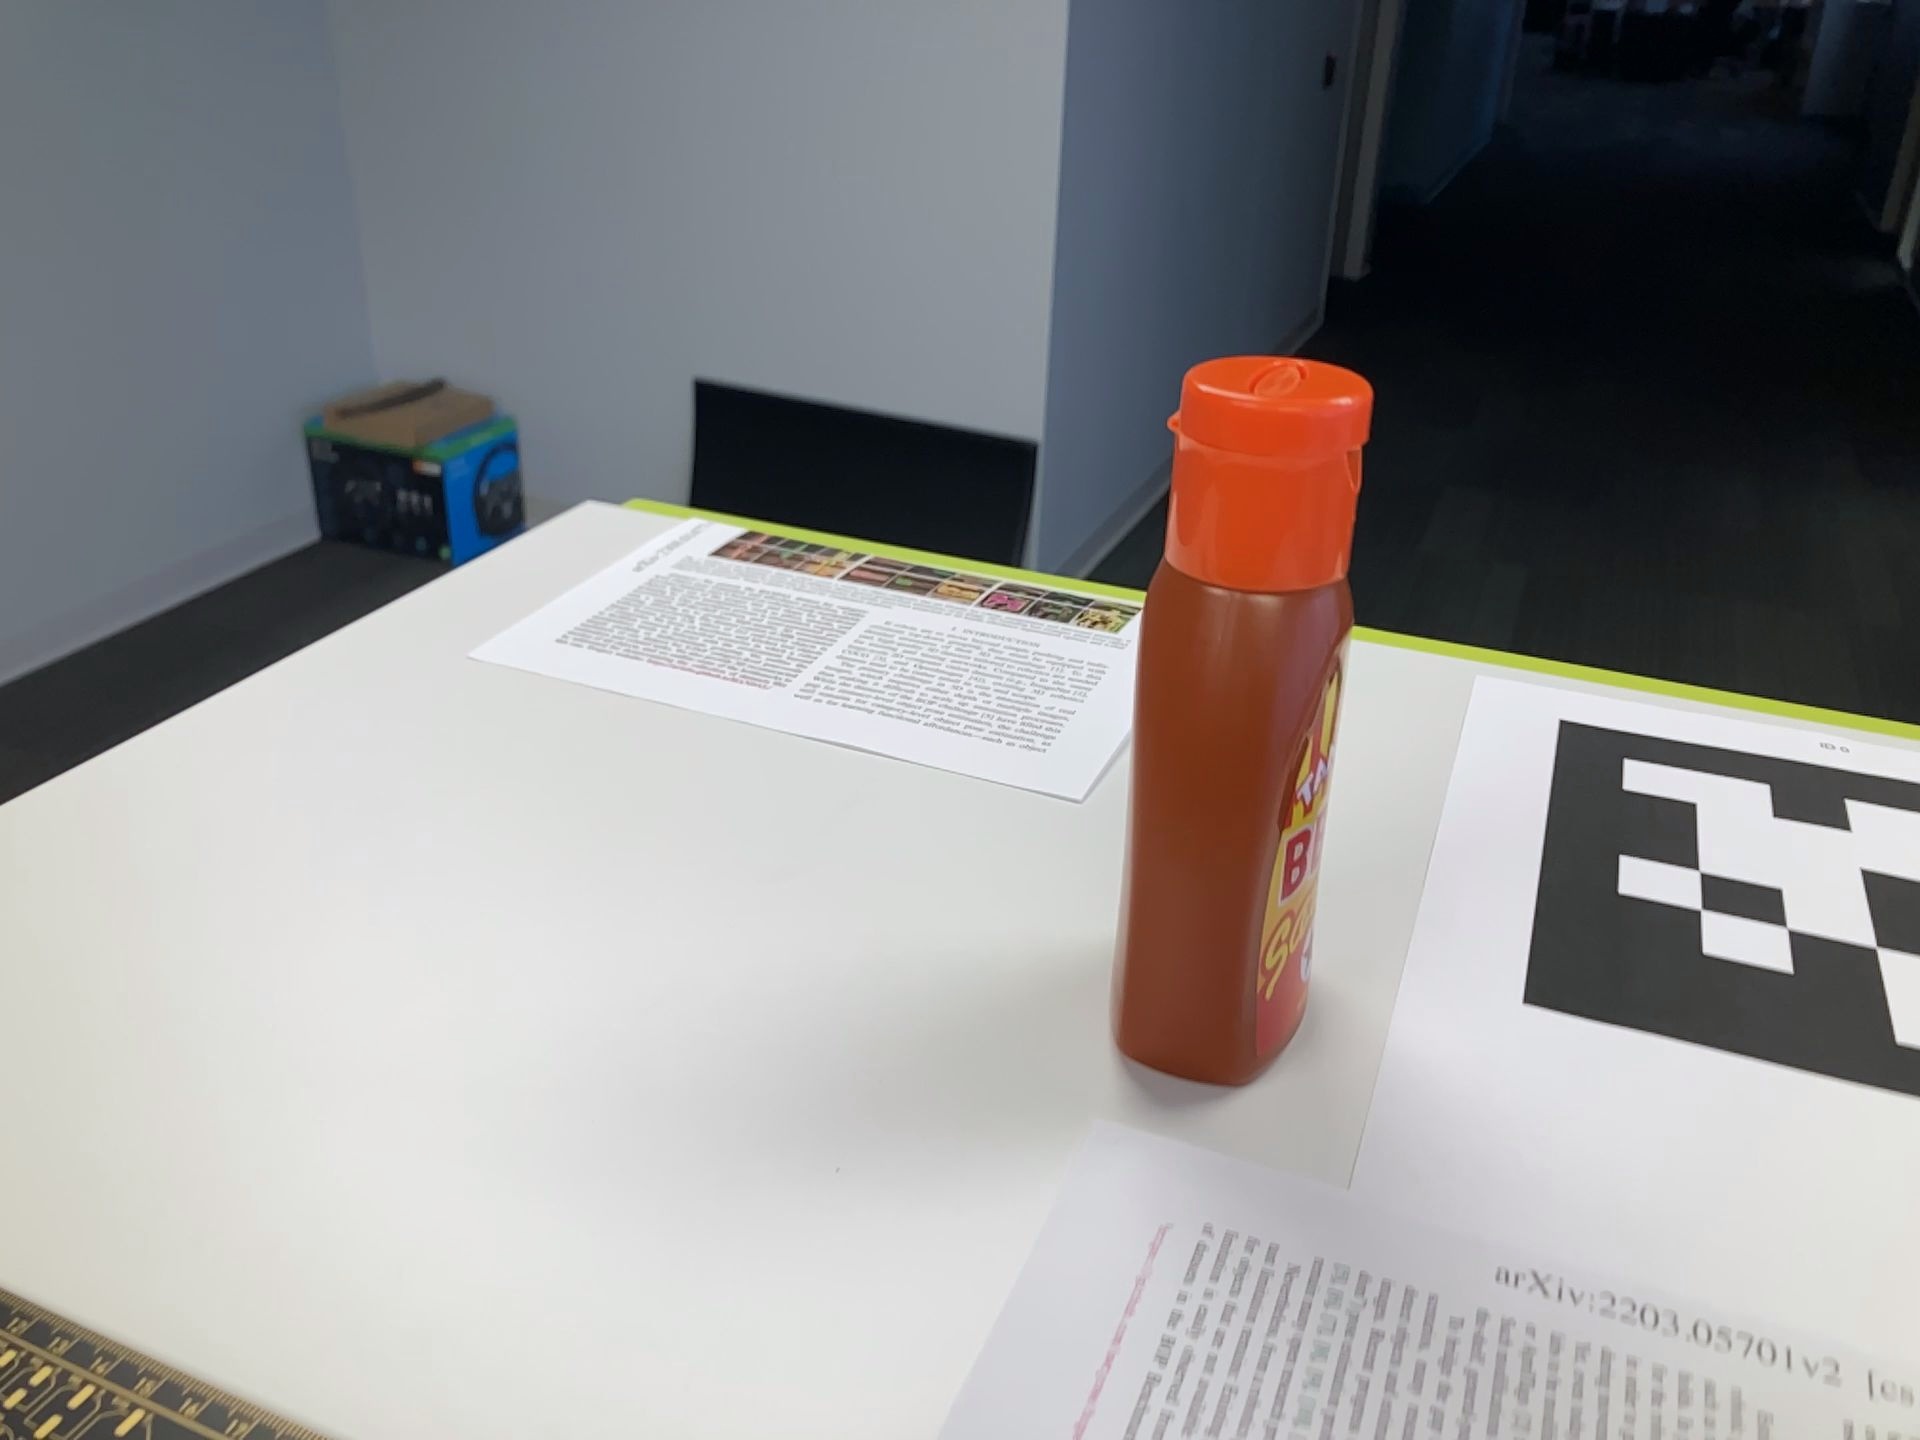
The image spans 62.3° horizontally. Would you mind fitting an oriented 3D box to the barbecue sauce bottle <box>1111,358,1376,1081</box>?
[{"bbox_3d":[0.060,0.000,0.340,0.043,0.148,0.065,12,27,21],"label":"barbecue sauce bottle"}]
